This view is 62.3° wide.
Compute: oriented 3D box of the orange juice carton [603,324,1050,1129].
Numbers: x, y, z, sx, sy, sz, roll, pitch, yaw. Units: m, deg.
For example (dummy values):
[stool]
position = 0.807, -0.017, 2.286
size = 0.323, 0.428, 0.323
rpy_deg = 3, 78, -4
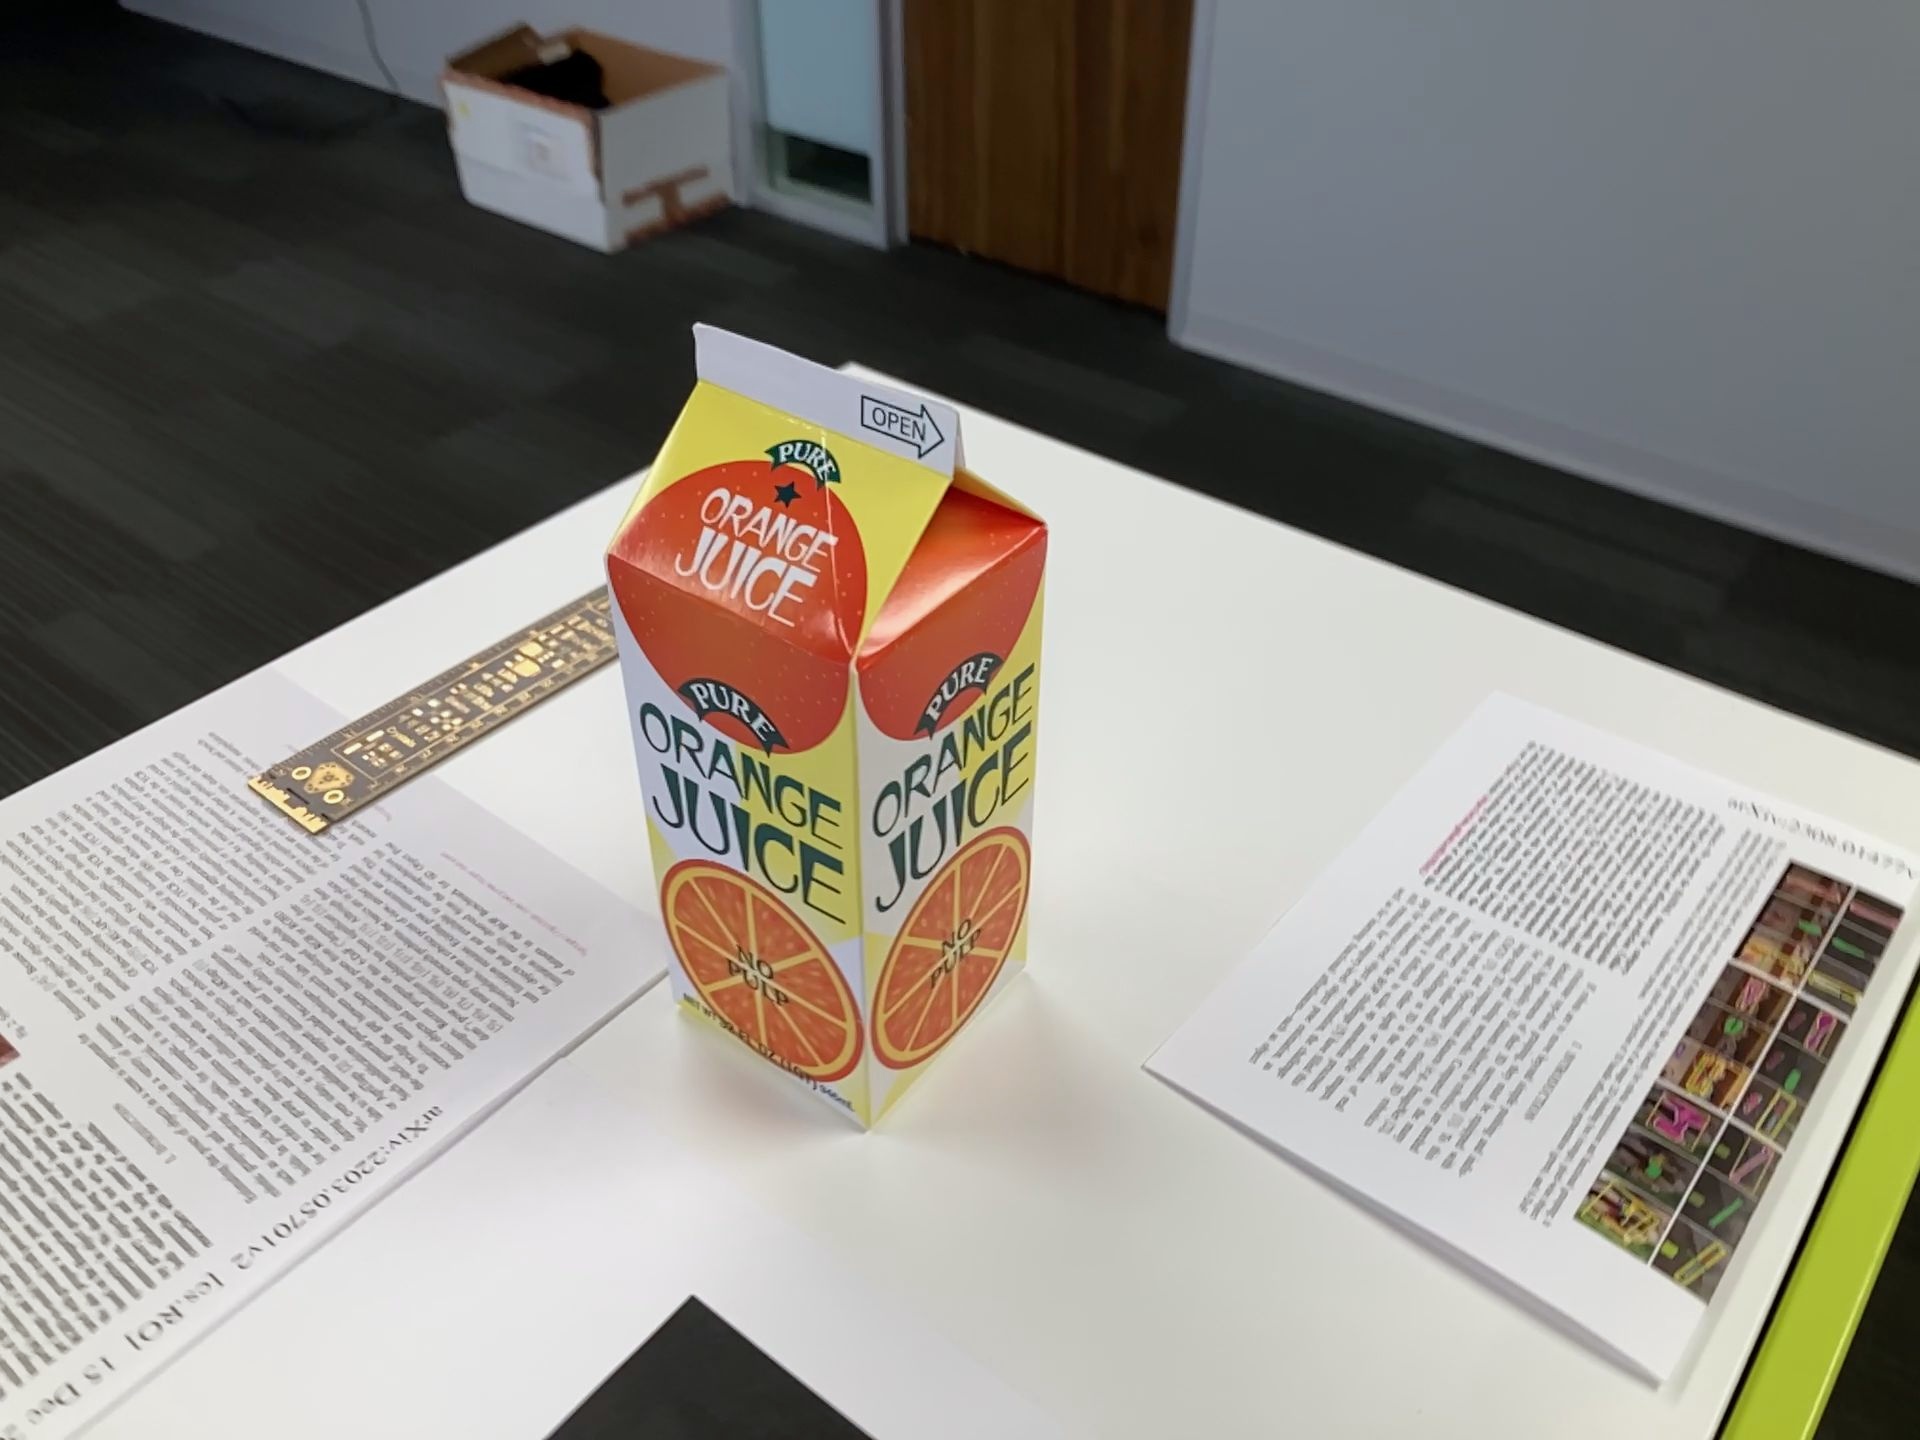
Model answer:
[orange juice carton]
position = -0.029, 0.002, 0.386
size = 0.072, 0.192, 0.073
rpy_deg = 26, 46, 28
